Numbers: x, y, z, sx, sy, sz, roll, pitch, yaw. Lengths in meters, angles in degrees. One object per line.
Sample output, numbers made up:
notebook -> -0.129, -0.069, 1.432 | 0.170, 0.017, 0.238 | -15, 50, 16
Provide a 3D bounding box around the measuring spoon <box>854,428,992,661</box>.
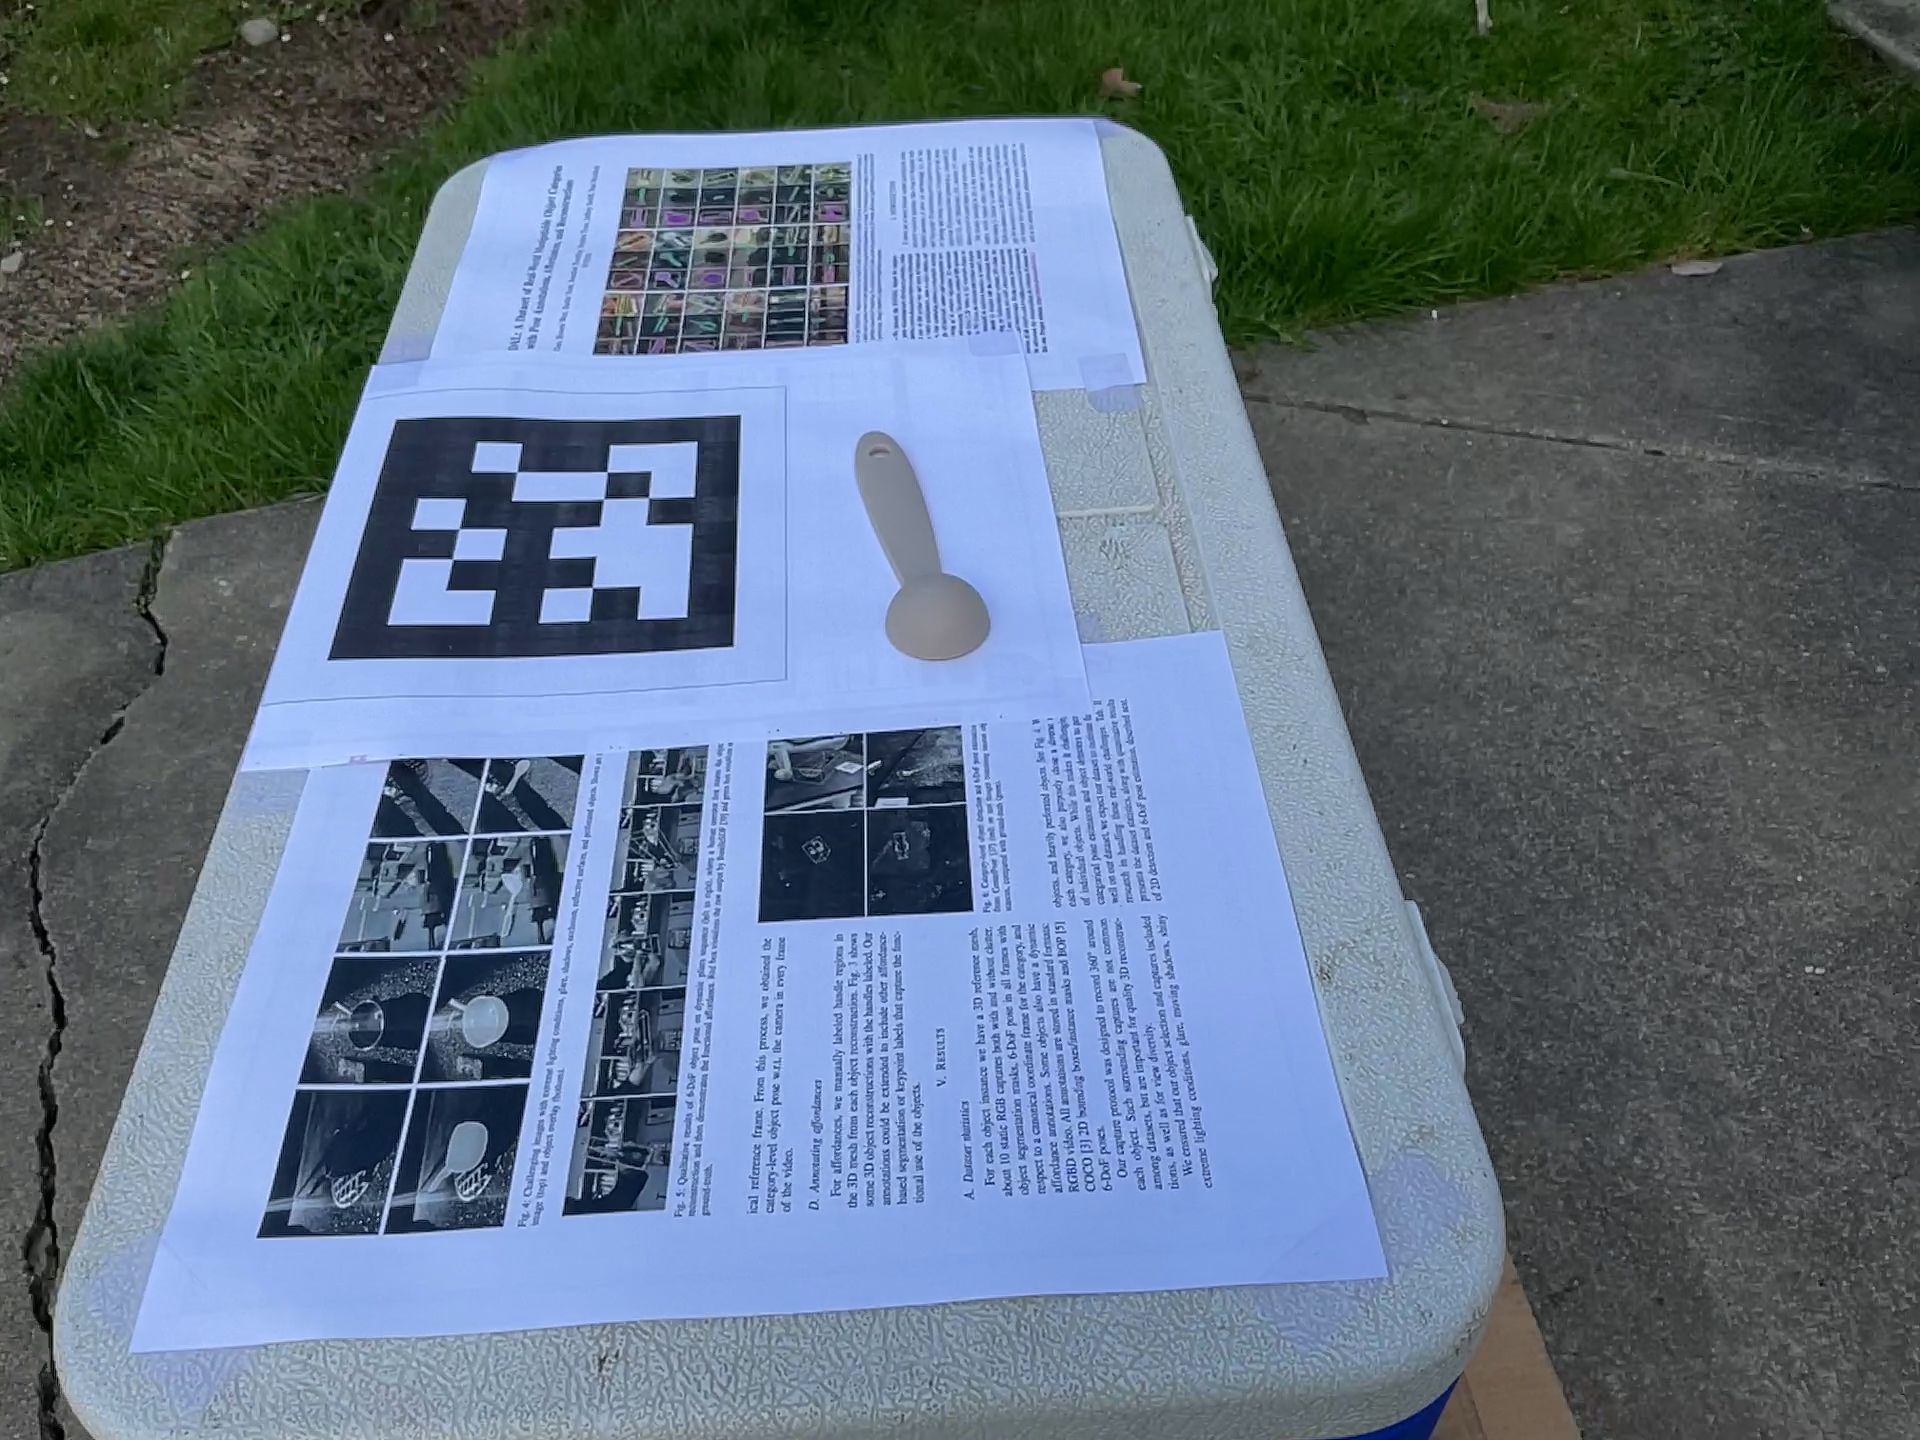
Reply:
measuring spoon -> -0.018, -0.067, 0.538 | 0.034, 0.018, 0.124 | -11, 46, -8
